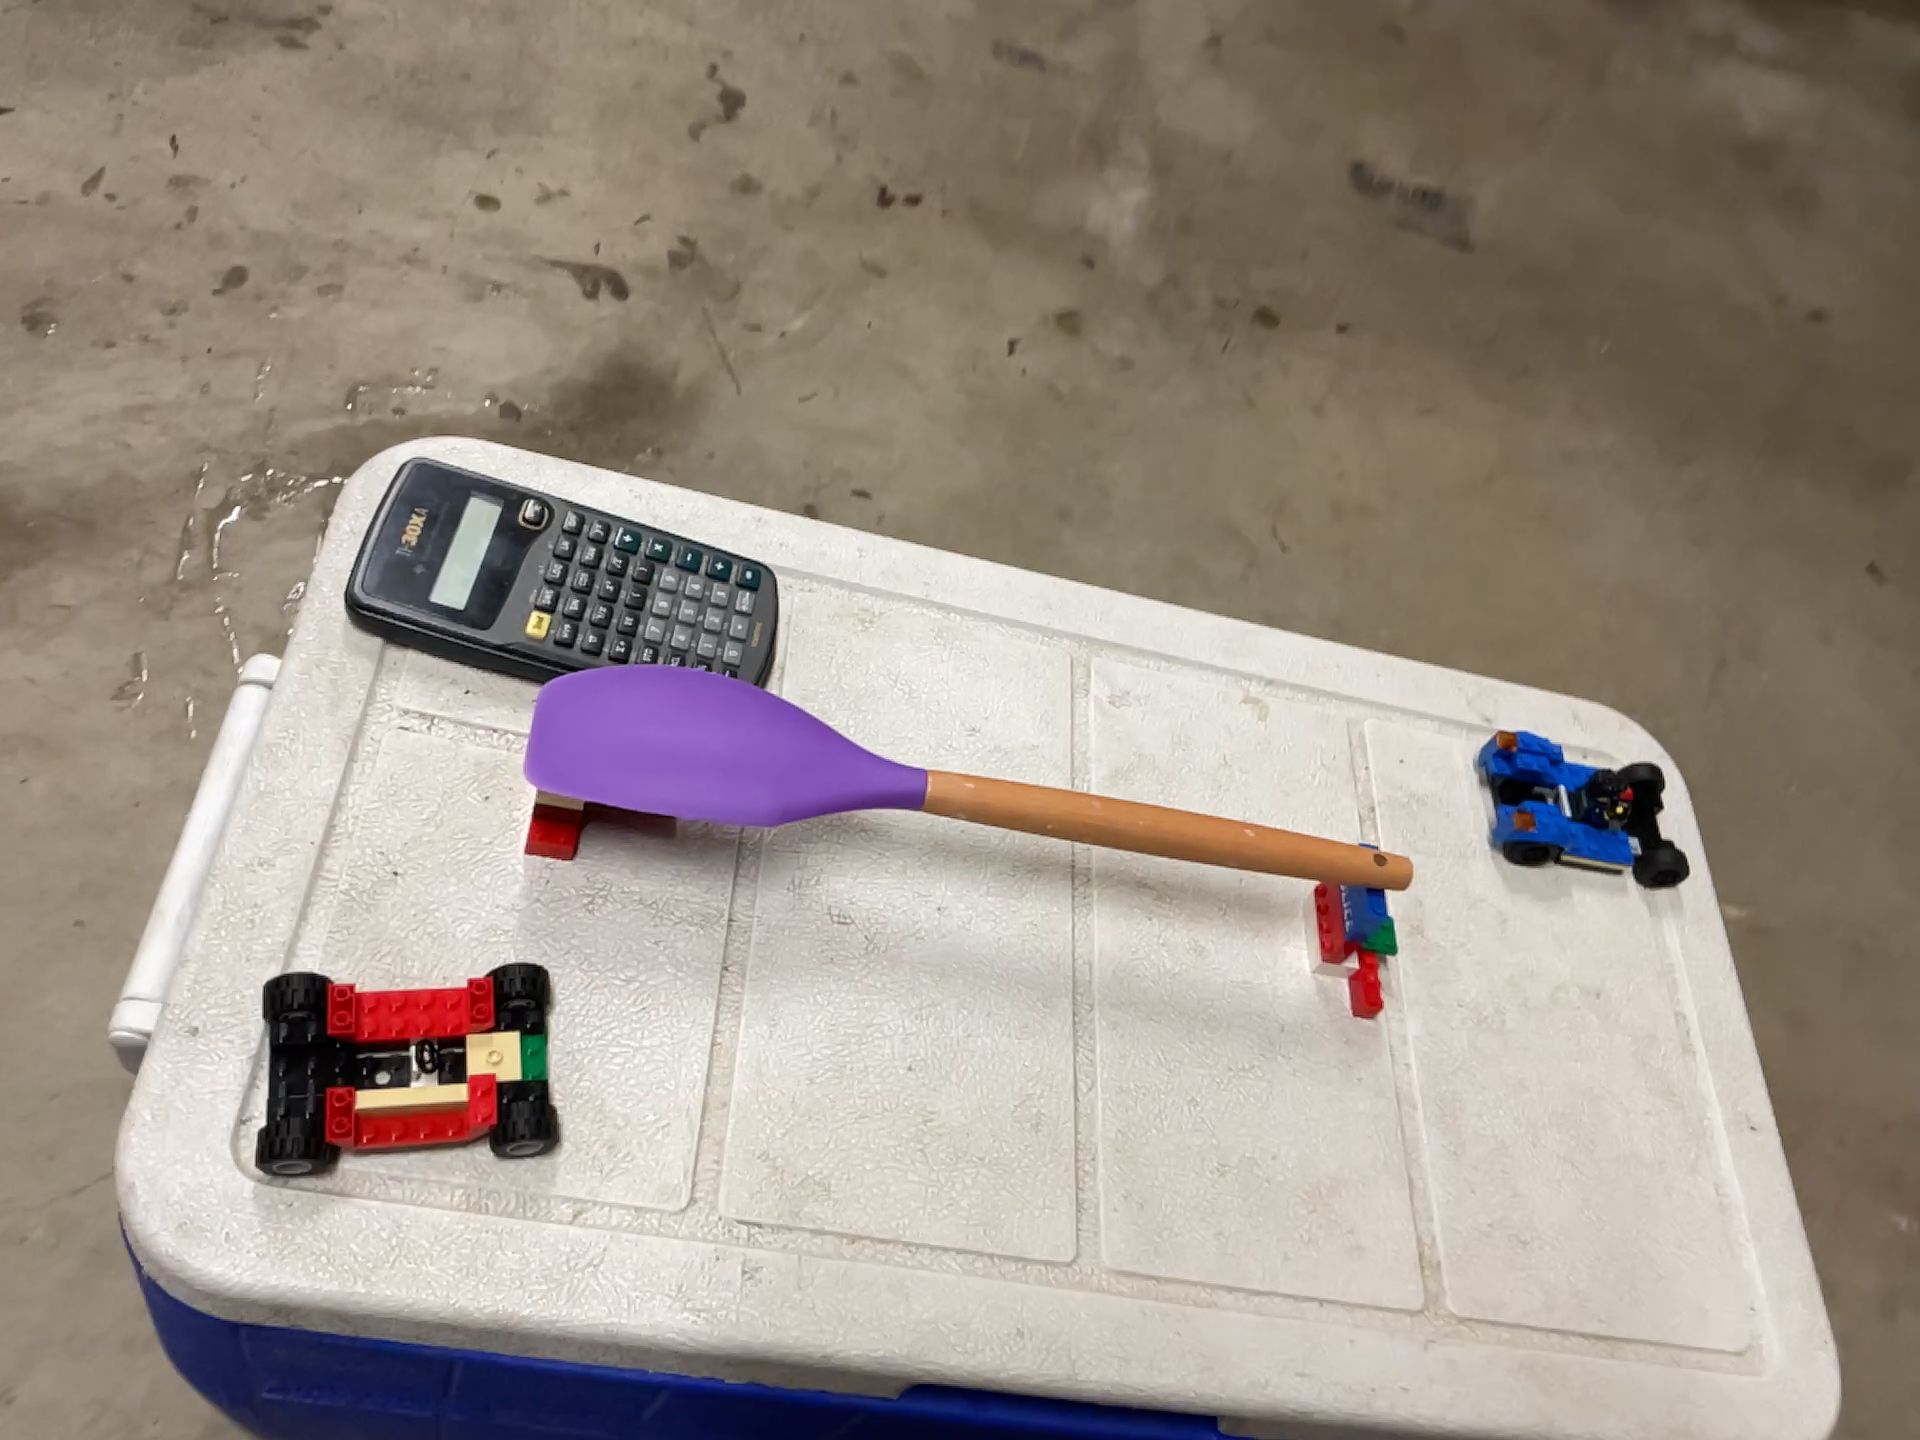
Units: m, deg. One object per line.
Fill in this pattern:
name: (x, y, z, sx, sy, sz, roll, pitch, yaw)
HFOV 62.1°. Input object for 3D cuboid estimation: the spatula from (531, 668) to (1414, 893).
spatula: (0.014, 0.028, 0.558, 0.316, 0.018, 0.060, 11, 55, -12)
